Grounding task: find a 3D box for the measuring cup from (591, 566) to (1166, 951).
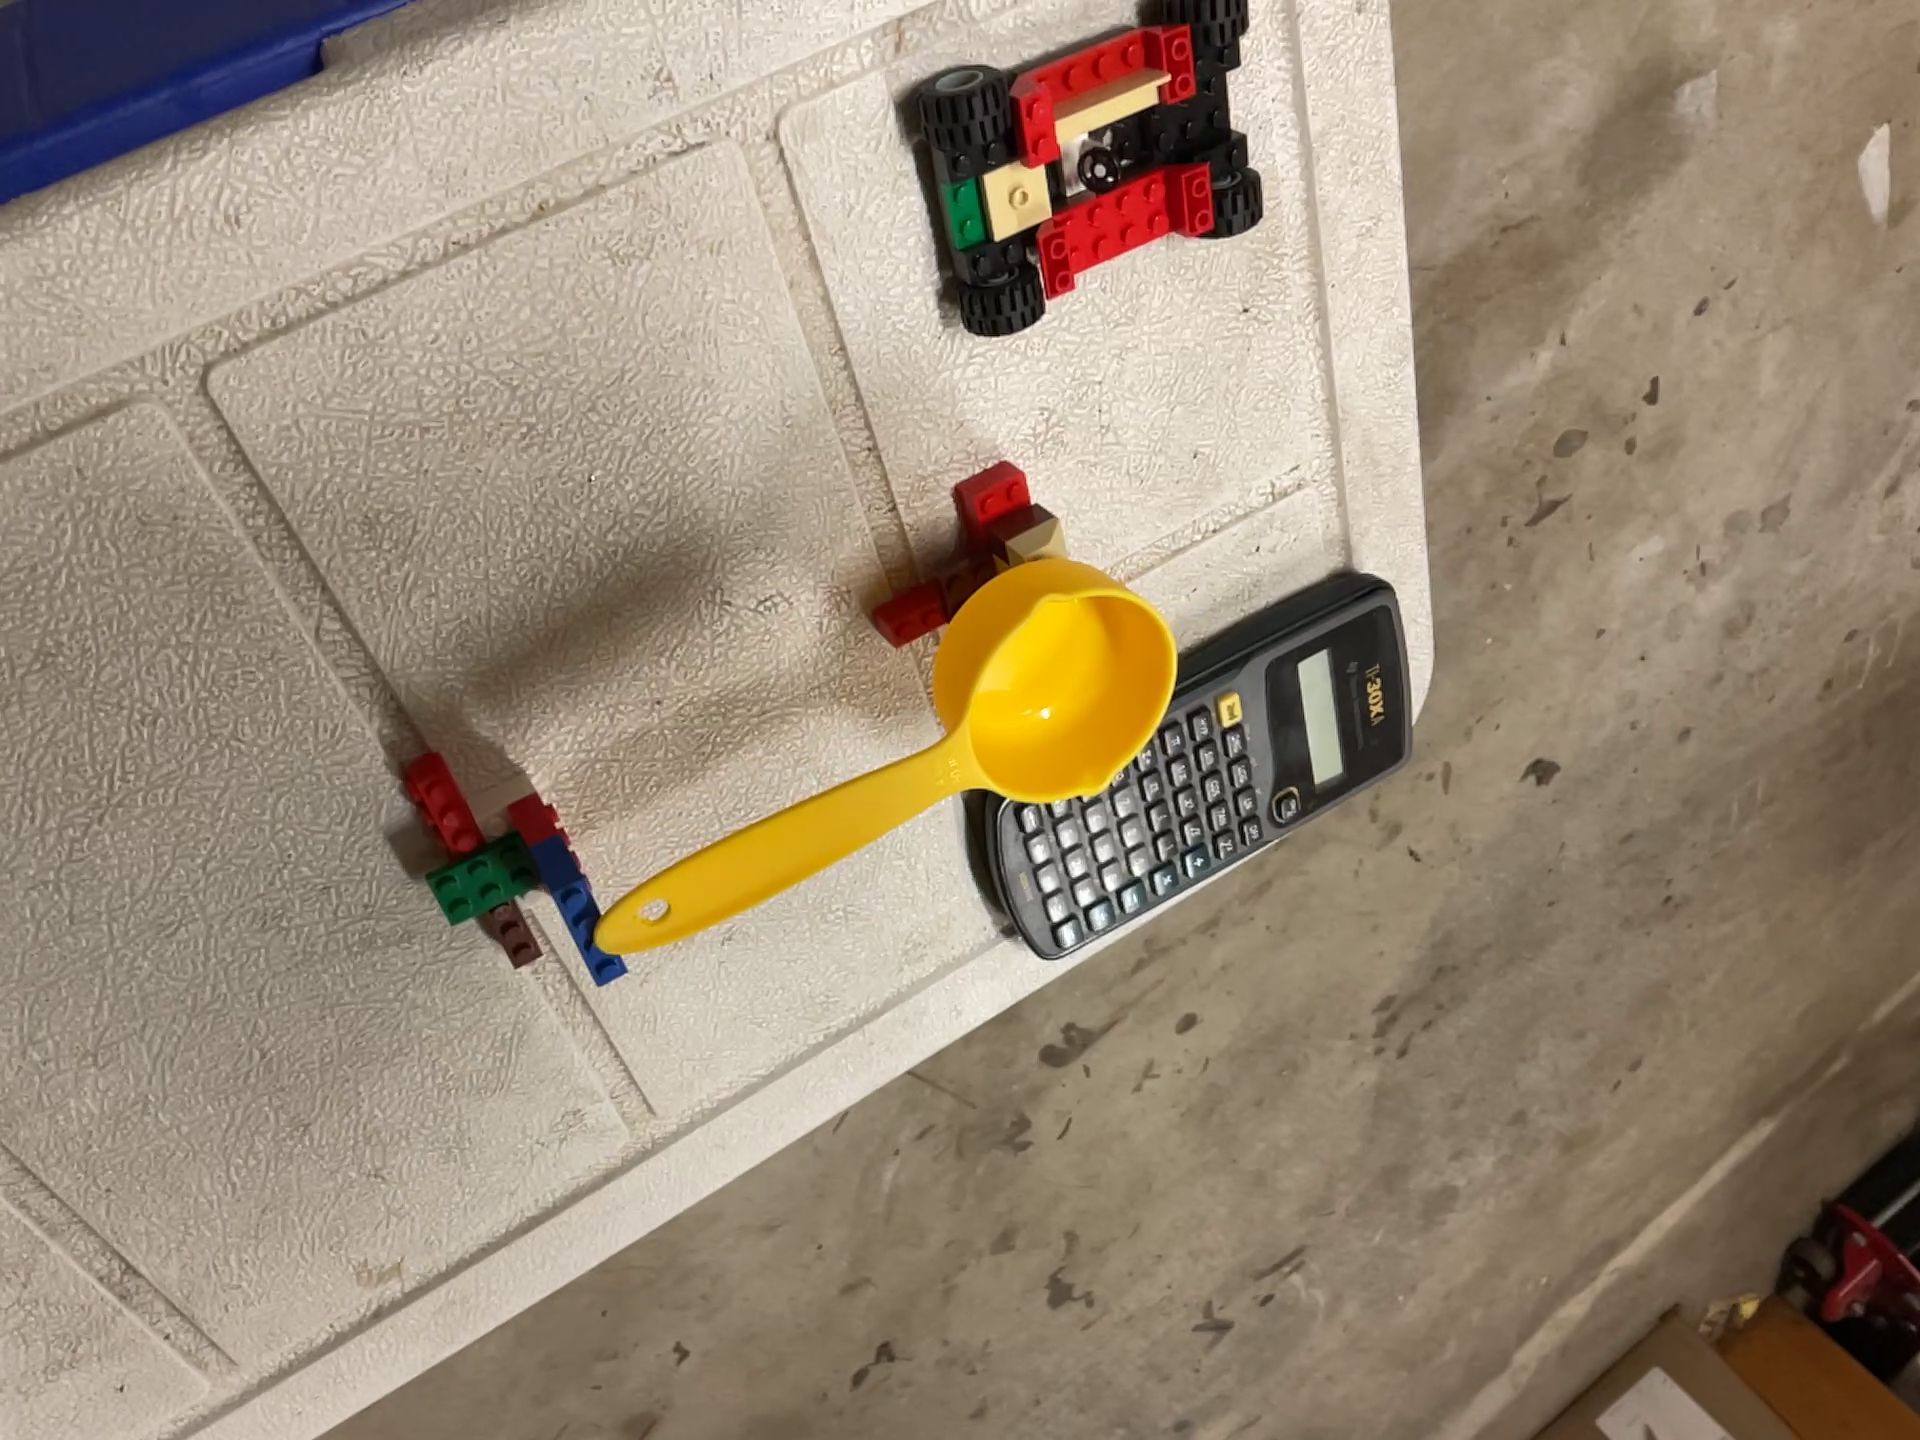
[{"bbox_3d":[-0.022,0.010,0.395,0.156,0.029,0.062,-27,130,-10],"label":"measuring cup"}]
